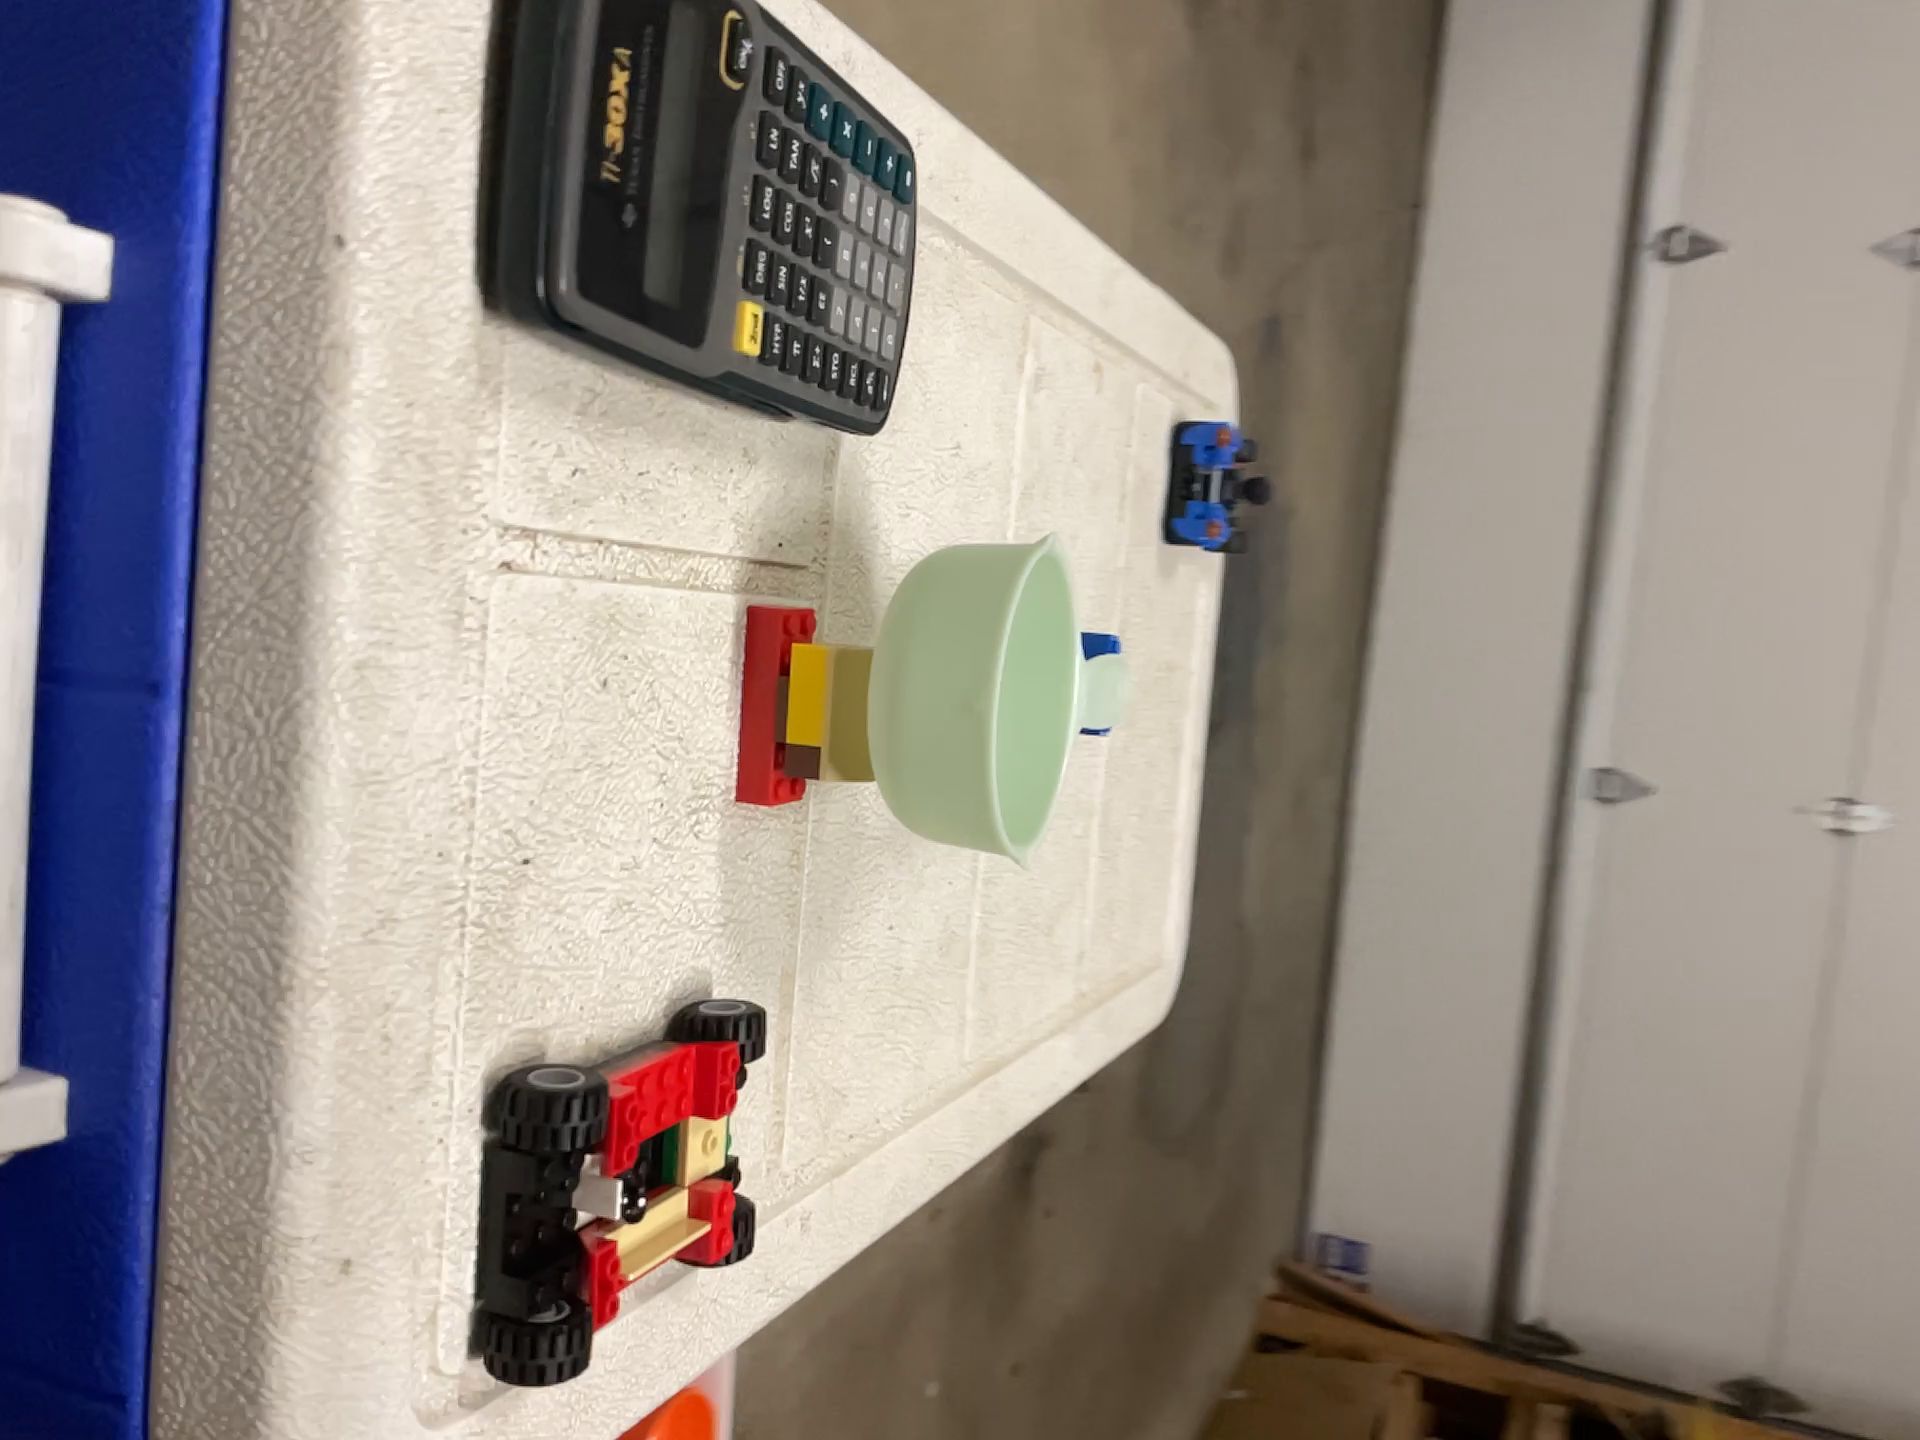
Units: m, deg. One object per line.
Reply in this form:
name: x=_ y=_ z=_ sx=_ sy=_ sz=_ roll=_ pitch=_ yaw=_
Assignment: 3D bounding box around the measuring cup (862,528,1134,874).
measuring cup: x=0.016 y=-0.009 z=0.432 sx=0.167 sy=0.038 sz=0.083 roll=-13 pitch=107 yaw=-73
